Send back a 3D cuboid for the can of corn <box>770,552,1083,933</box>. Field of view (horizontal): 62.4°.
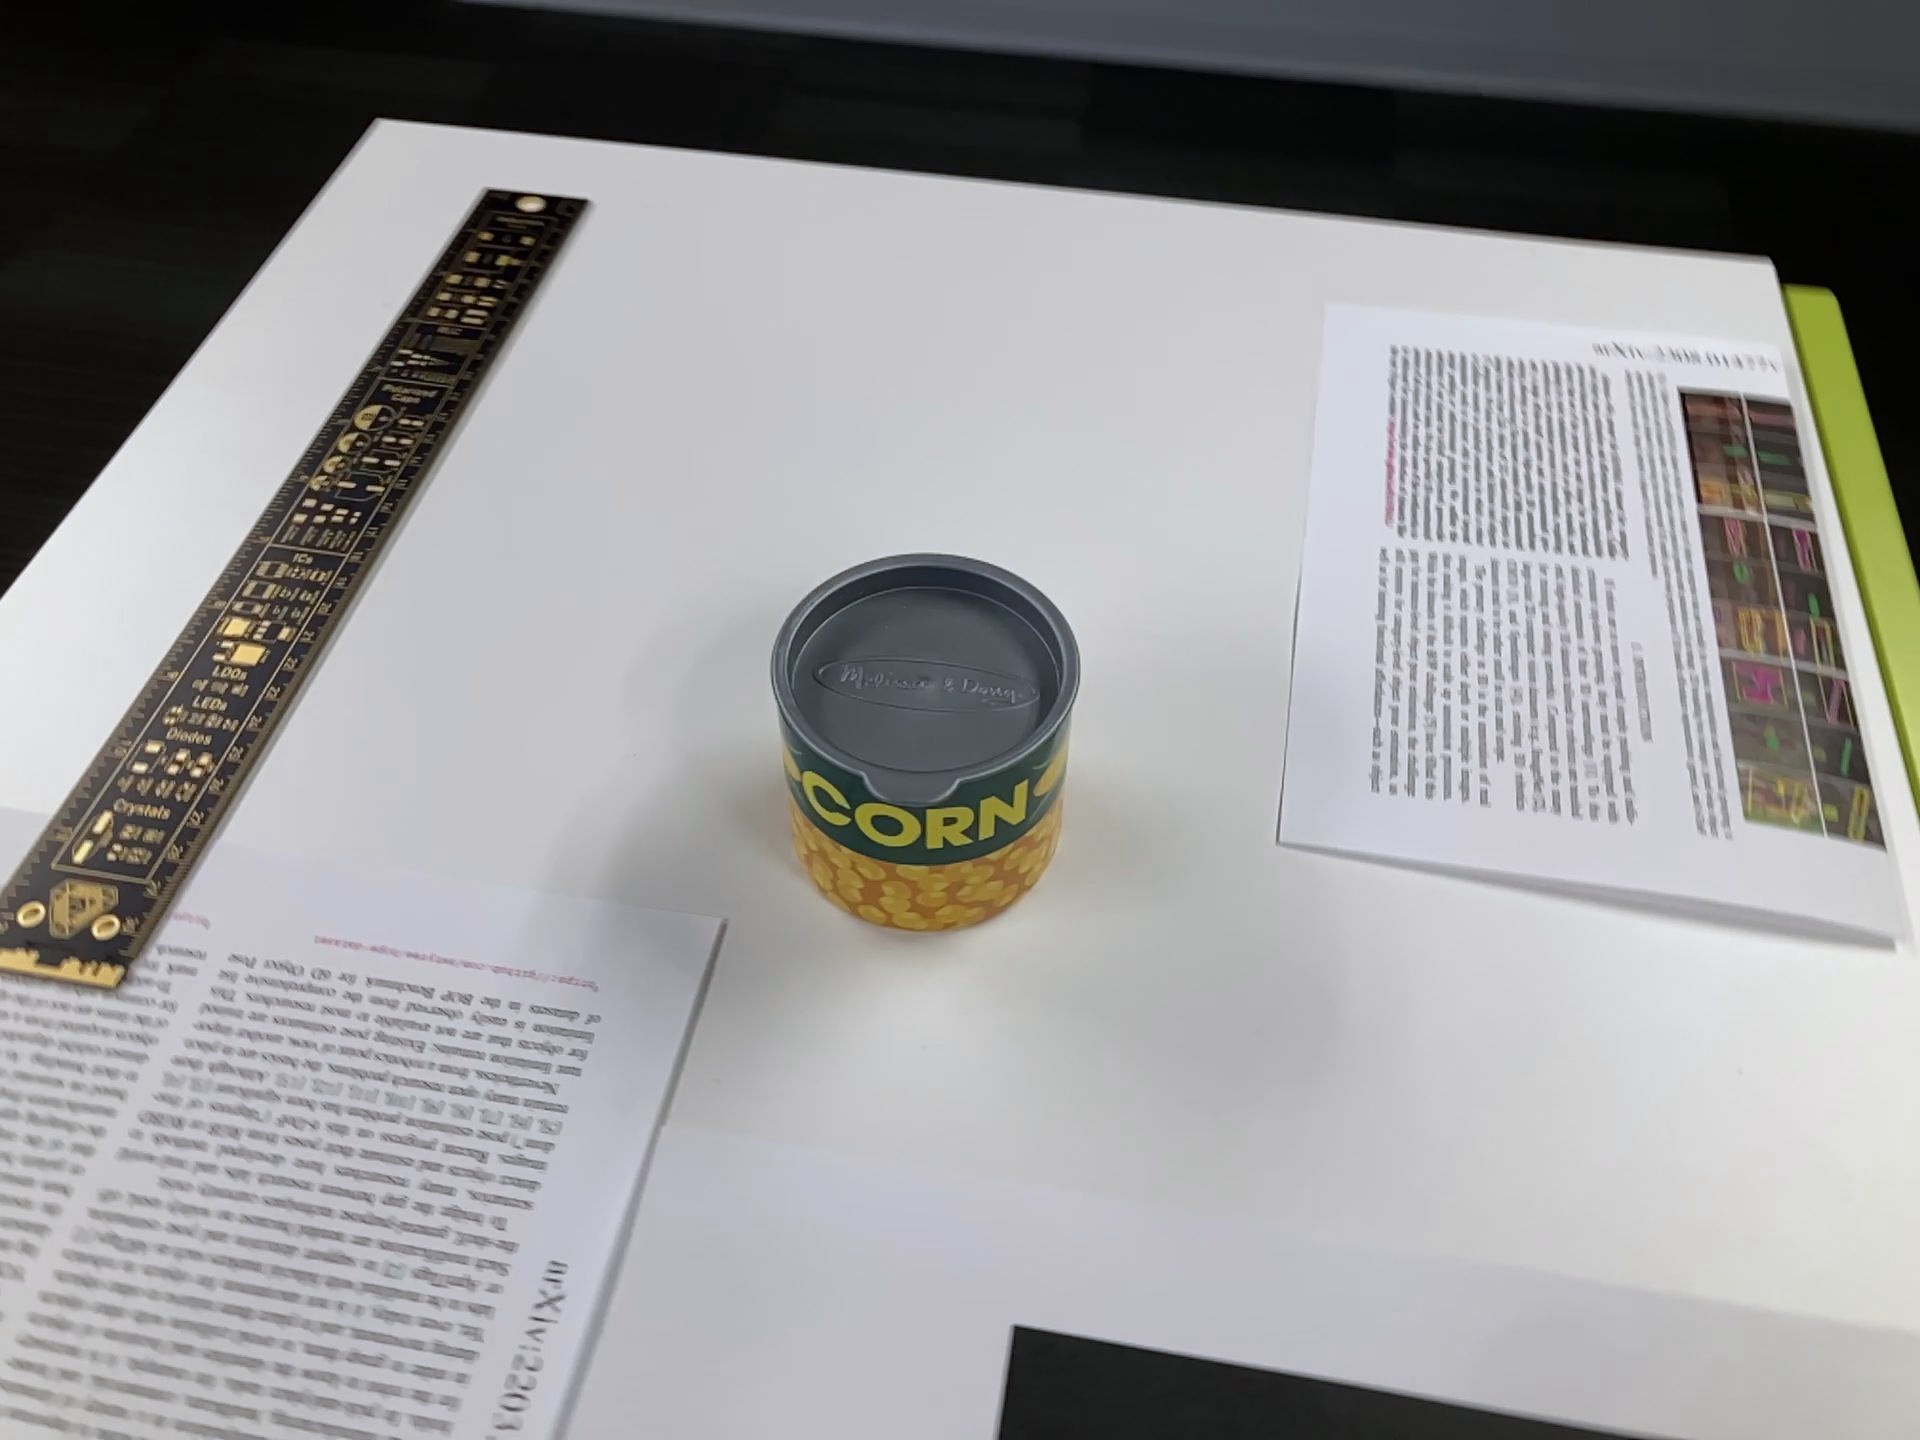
[{"bbox_3d":[-0.008,0.008,0.356,0.071,0.058,0.071,1,51,-1],"label":"can of corn"}]
